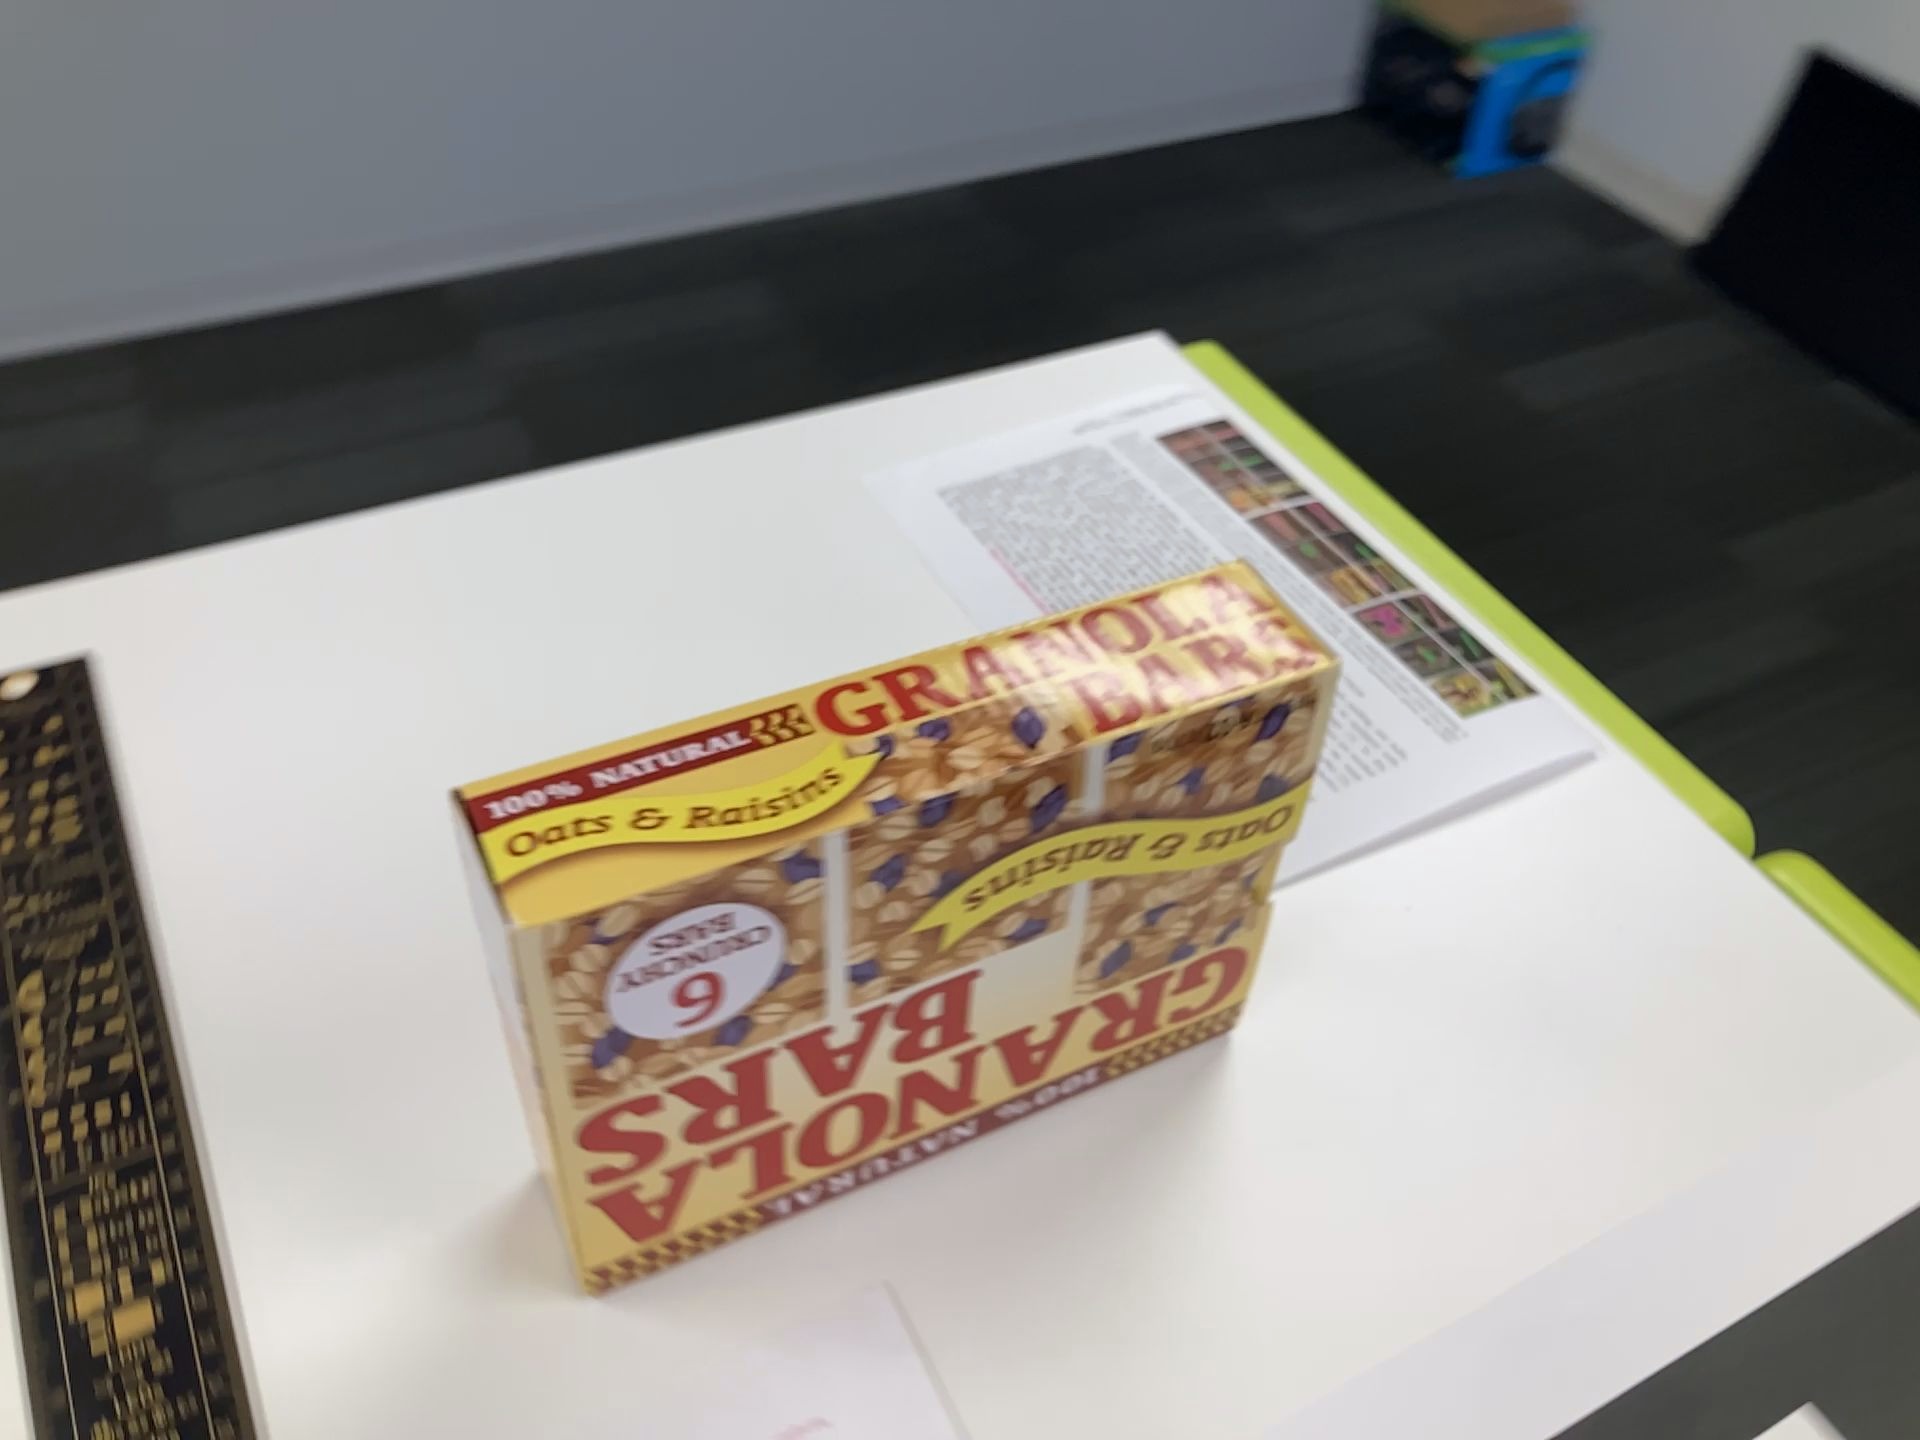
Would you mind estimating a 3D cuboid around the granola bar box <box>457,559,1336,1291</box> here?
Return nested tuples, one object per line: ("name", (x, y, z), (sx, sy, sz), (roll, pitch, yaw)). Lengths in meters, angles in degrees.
("granola bar box", (-0.009, 0.044, 0.337), (0.165, 0.124, 0.039), (-17, 48, -21))
